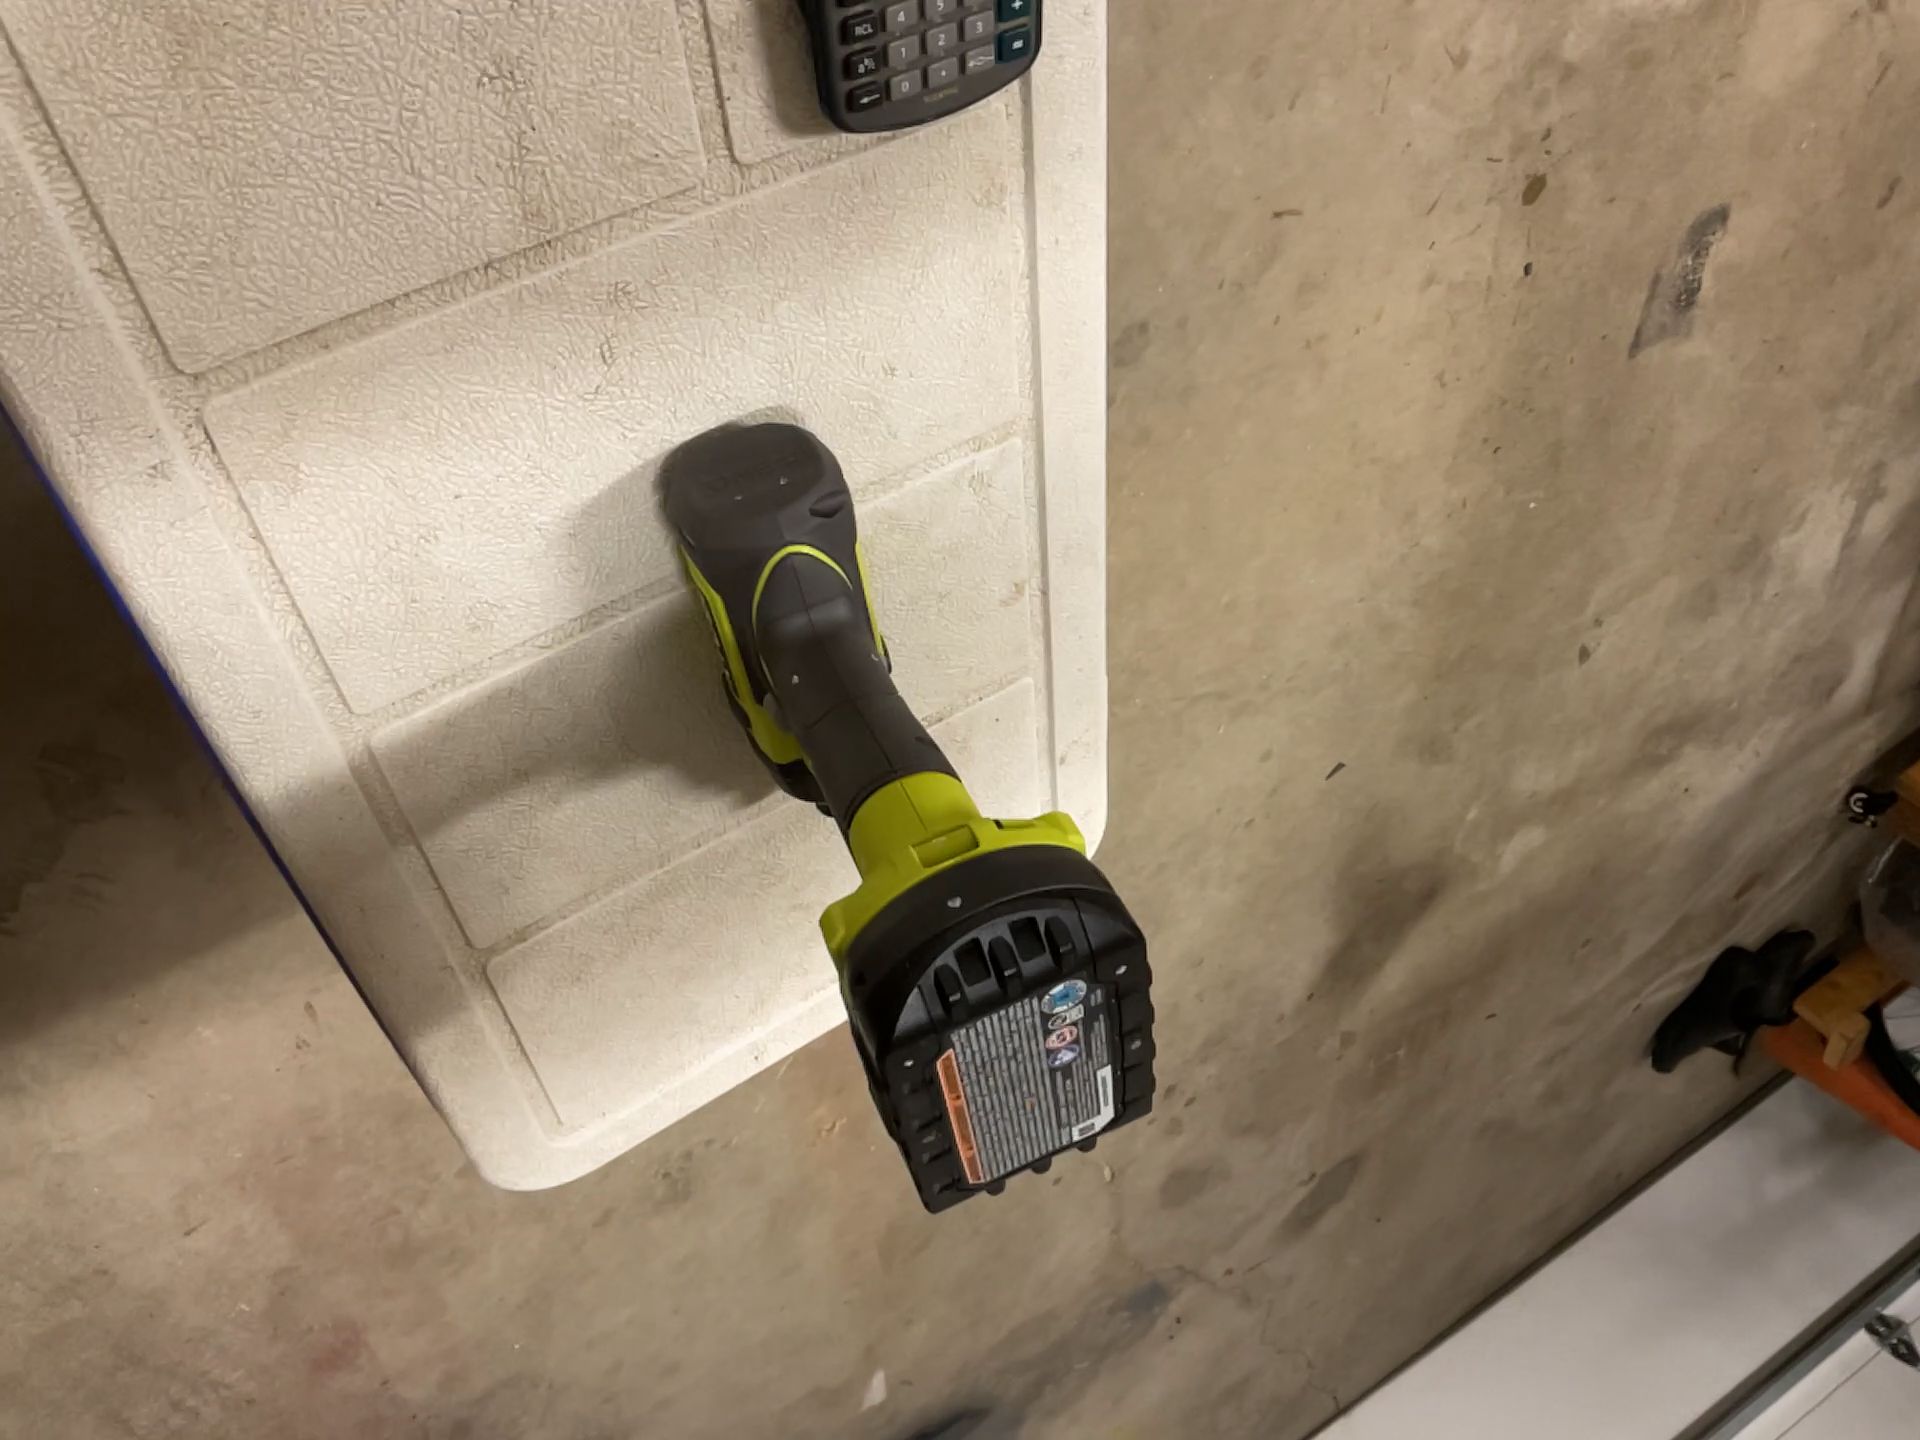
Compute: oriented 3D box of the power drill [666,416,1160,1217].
[{"bbox_3d":[-0.022,0.031,0.509,0.080,0.223,0.171,-21,139,-11],"label":"power drill"}]
